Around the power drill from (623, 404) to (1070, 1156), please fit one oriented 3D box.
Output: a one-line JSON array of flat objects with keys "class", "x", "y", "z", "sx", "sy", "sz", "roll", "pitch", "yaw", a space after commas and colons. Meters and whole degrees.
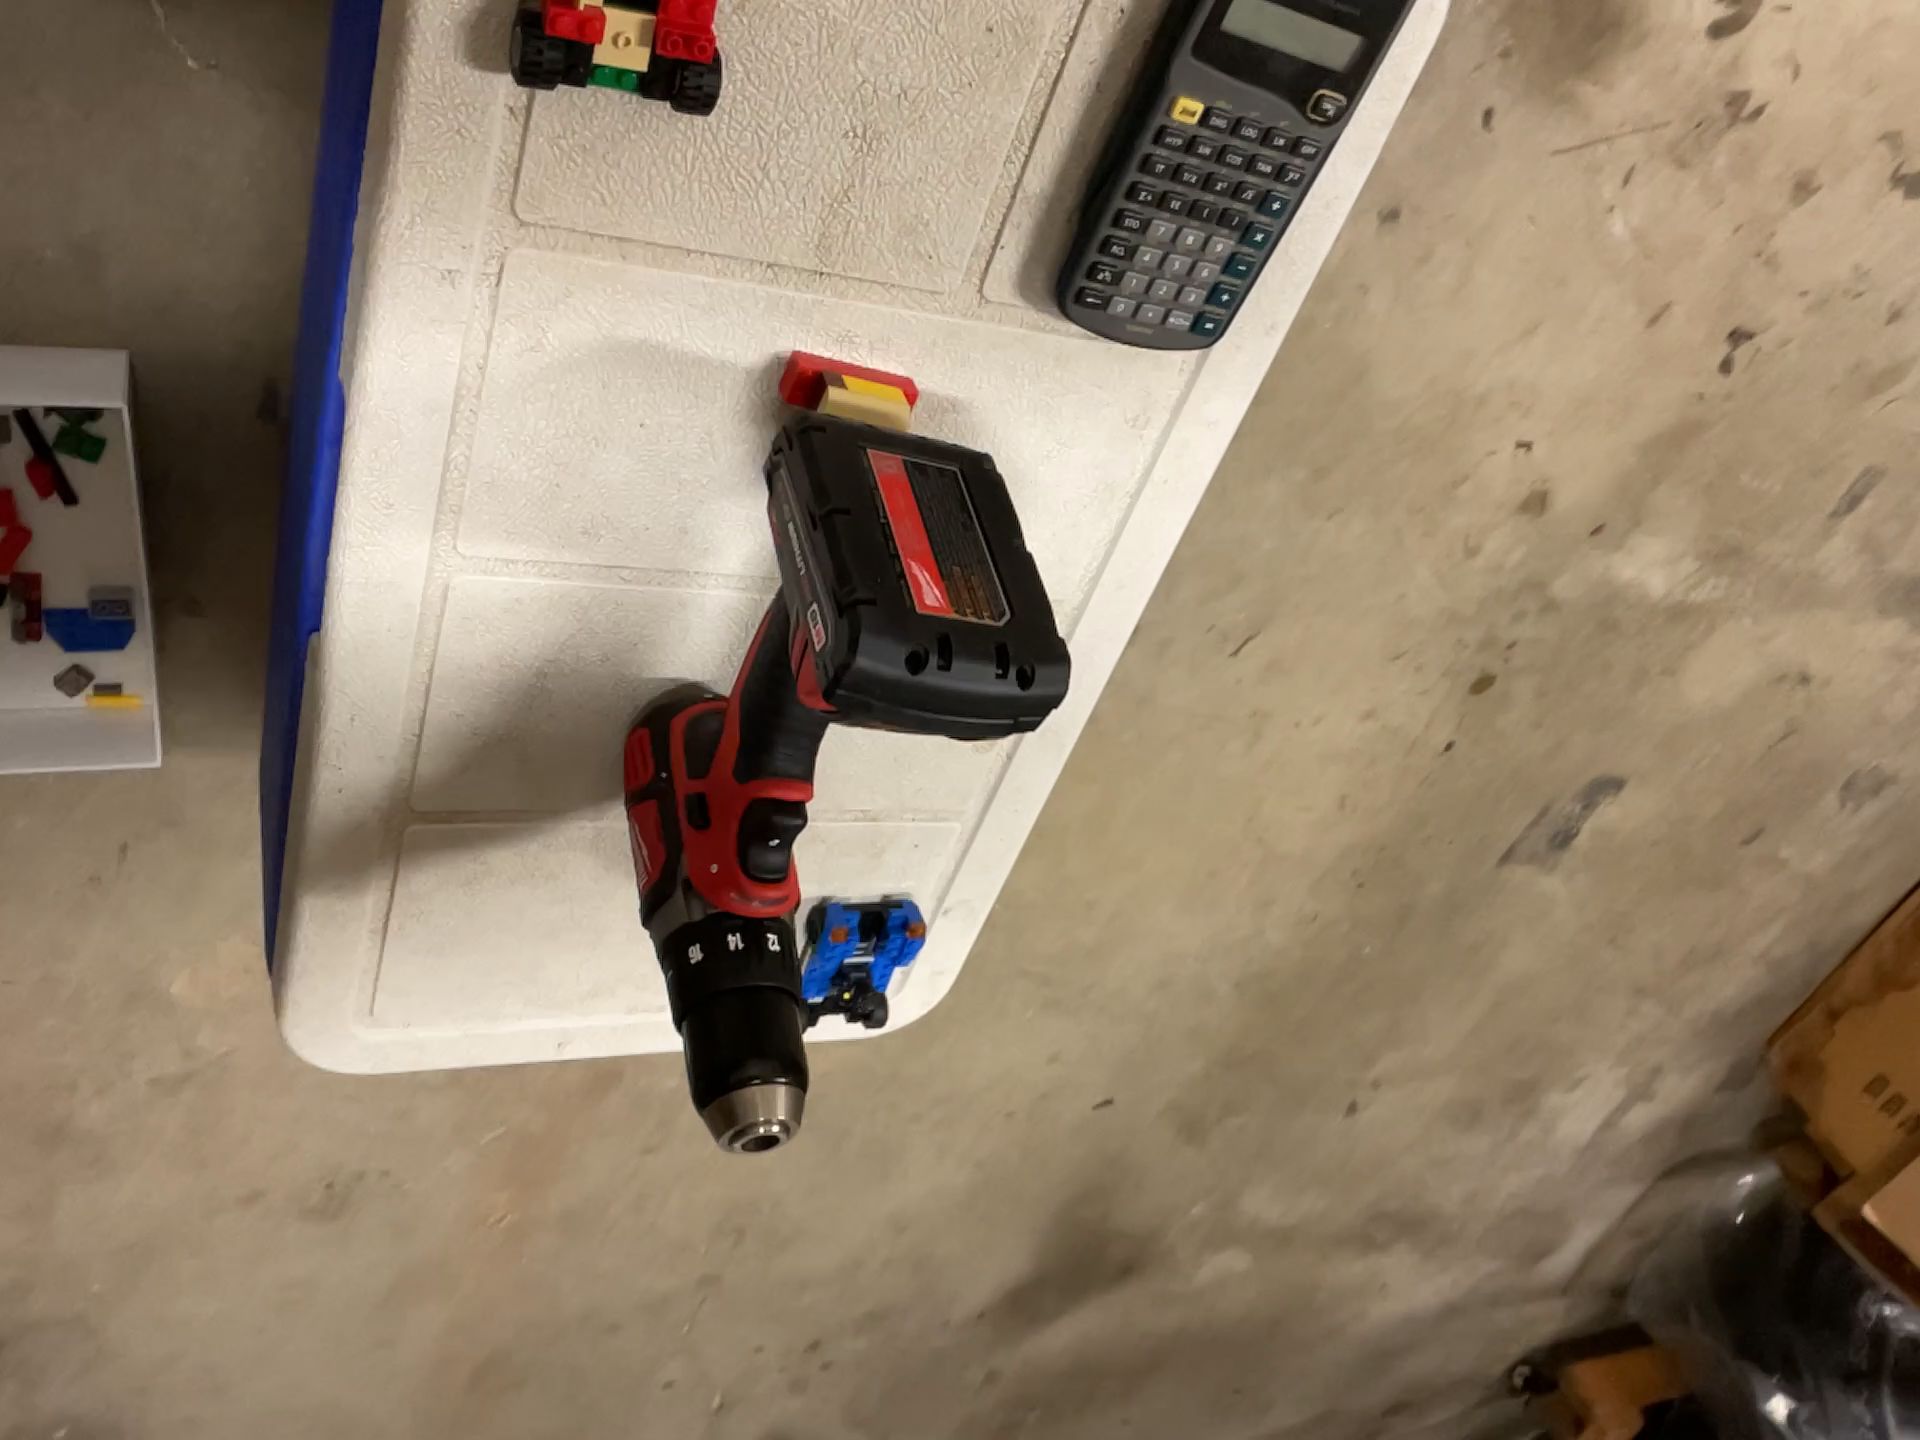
[{"class": "power drill", "x": -0.055, "y": 0.026, "z": 0.562, "sx": 0.080, "sy": 0.188, "sz": 0.226, "roll": 8, "pitch": 138, "yaw": -30}]
